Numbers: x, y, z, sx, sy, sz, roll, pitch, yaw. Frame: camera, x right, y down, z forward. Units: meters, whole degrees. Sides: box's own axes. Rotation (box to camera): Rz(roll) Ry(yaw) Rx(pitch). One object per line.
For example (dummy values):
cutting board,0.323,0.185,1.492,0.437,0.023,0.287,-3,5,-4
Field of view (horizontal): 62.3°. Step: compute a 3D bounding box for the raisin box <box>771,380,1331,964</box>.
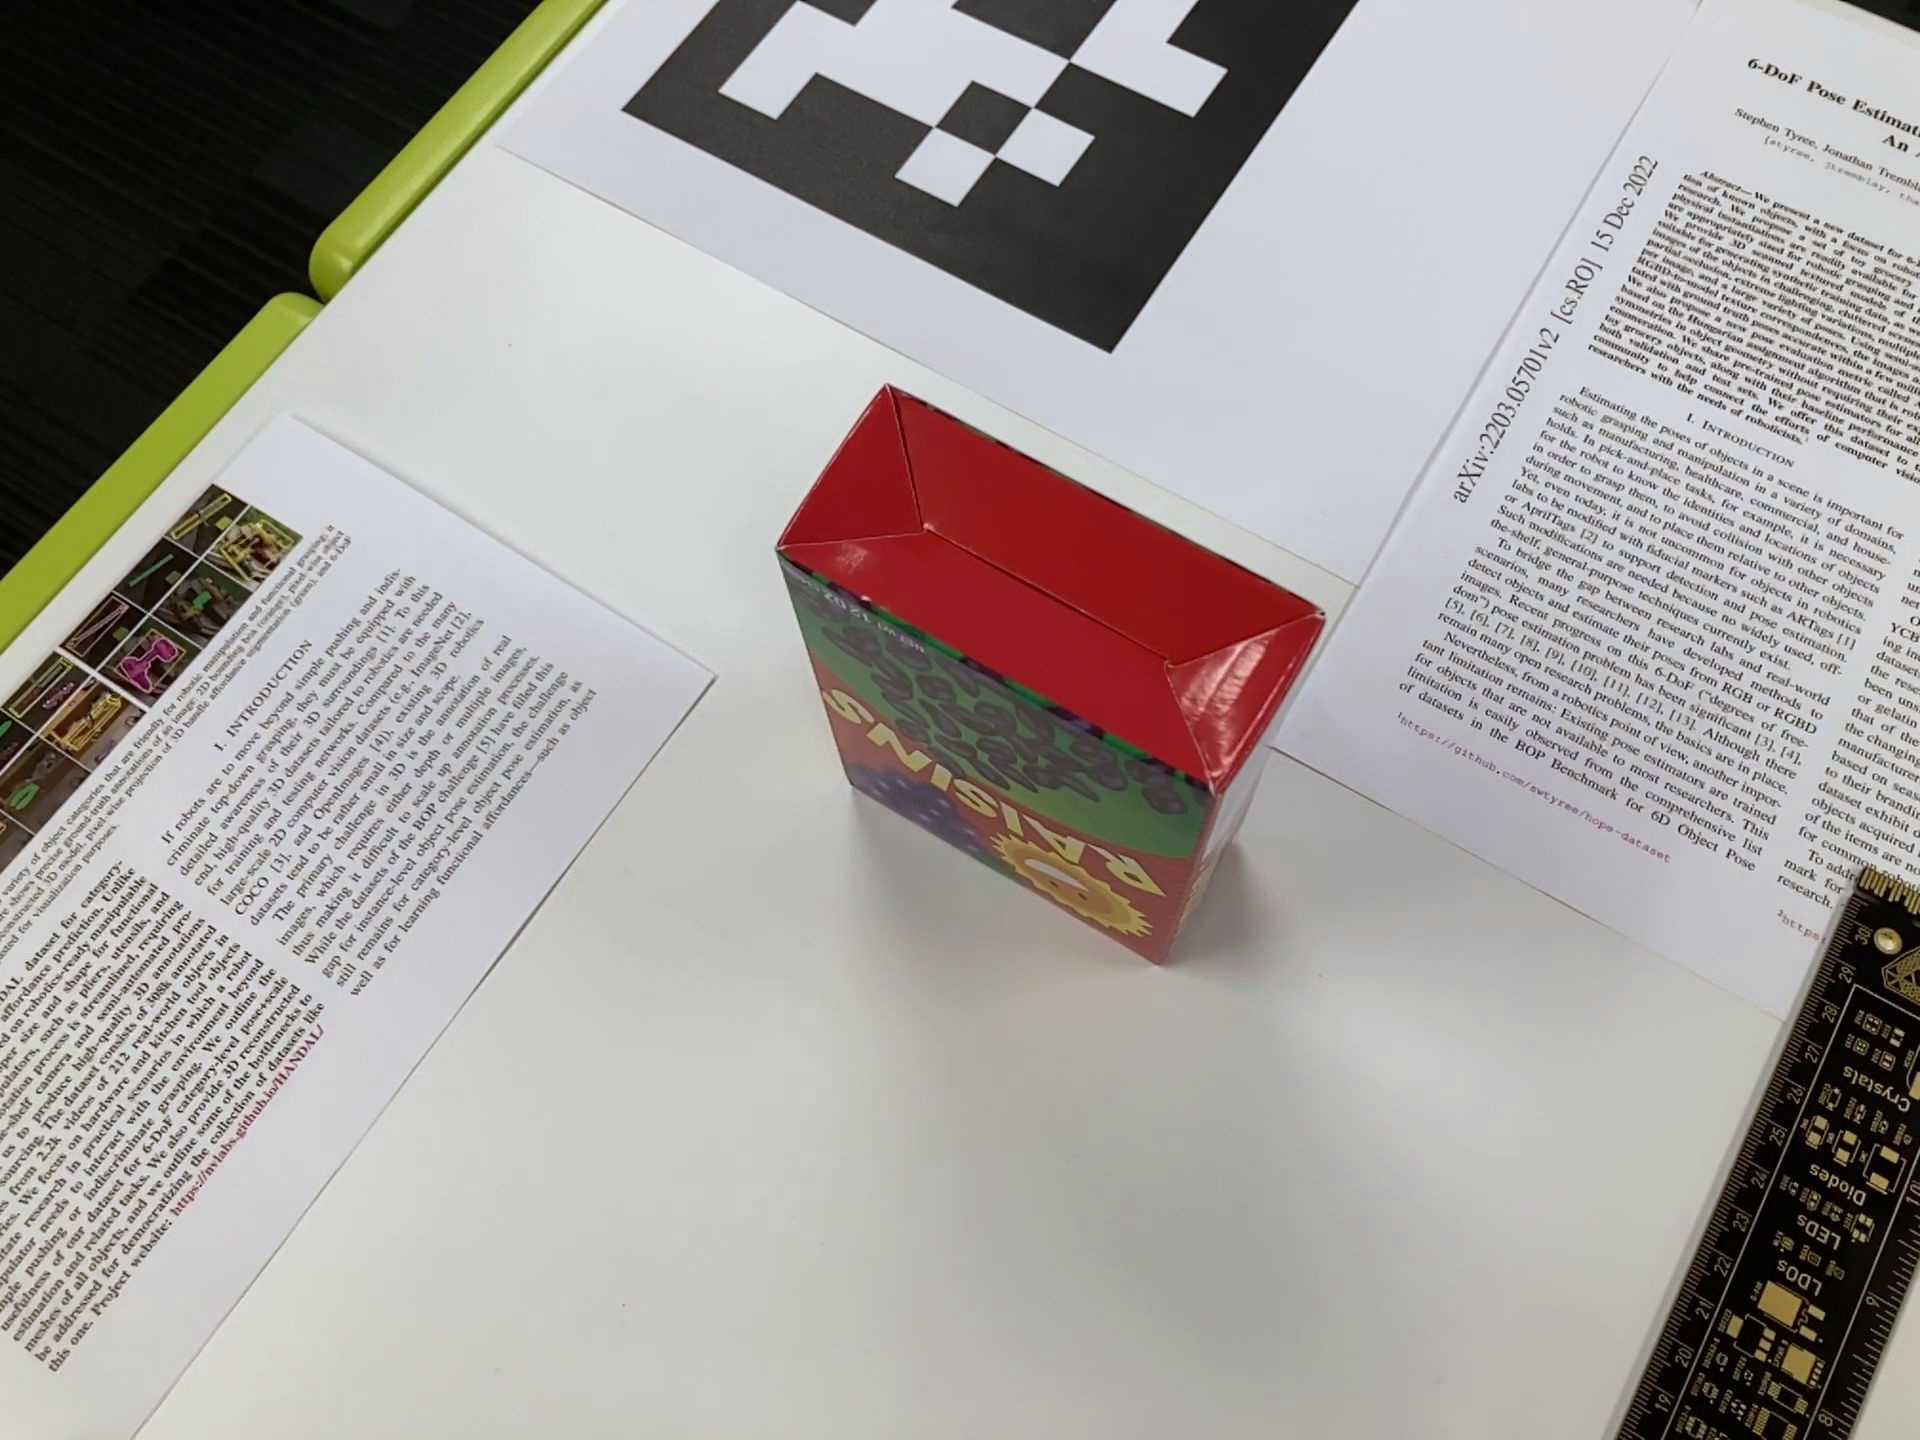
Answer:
raisin box,0.016,-0.002,0.310,0.086,0.123,0.040,29,73,13
